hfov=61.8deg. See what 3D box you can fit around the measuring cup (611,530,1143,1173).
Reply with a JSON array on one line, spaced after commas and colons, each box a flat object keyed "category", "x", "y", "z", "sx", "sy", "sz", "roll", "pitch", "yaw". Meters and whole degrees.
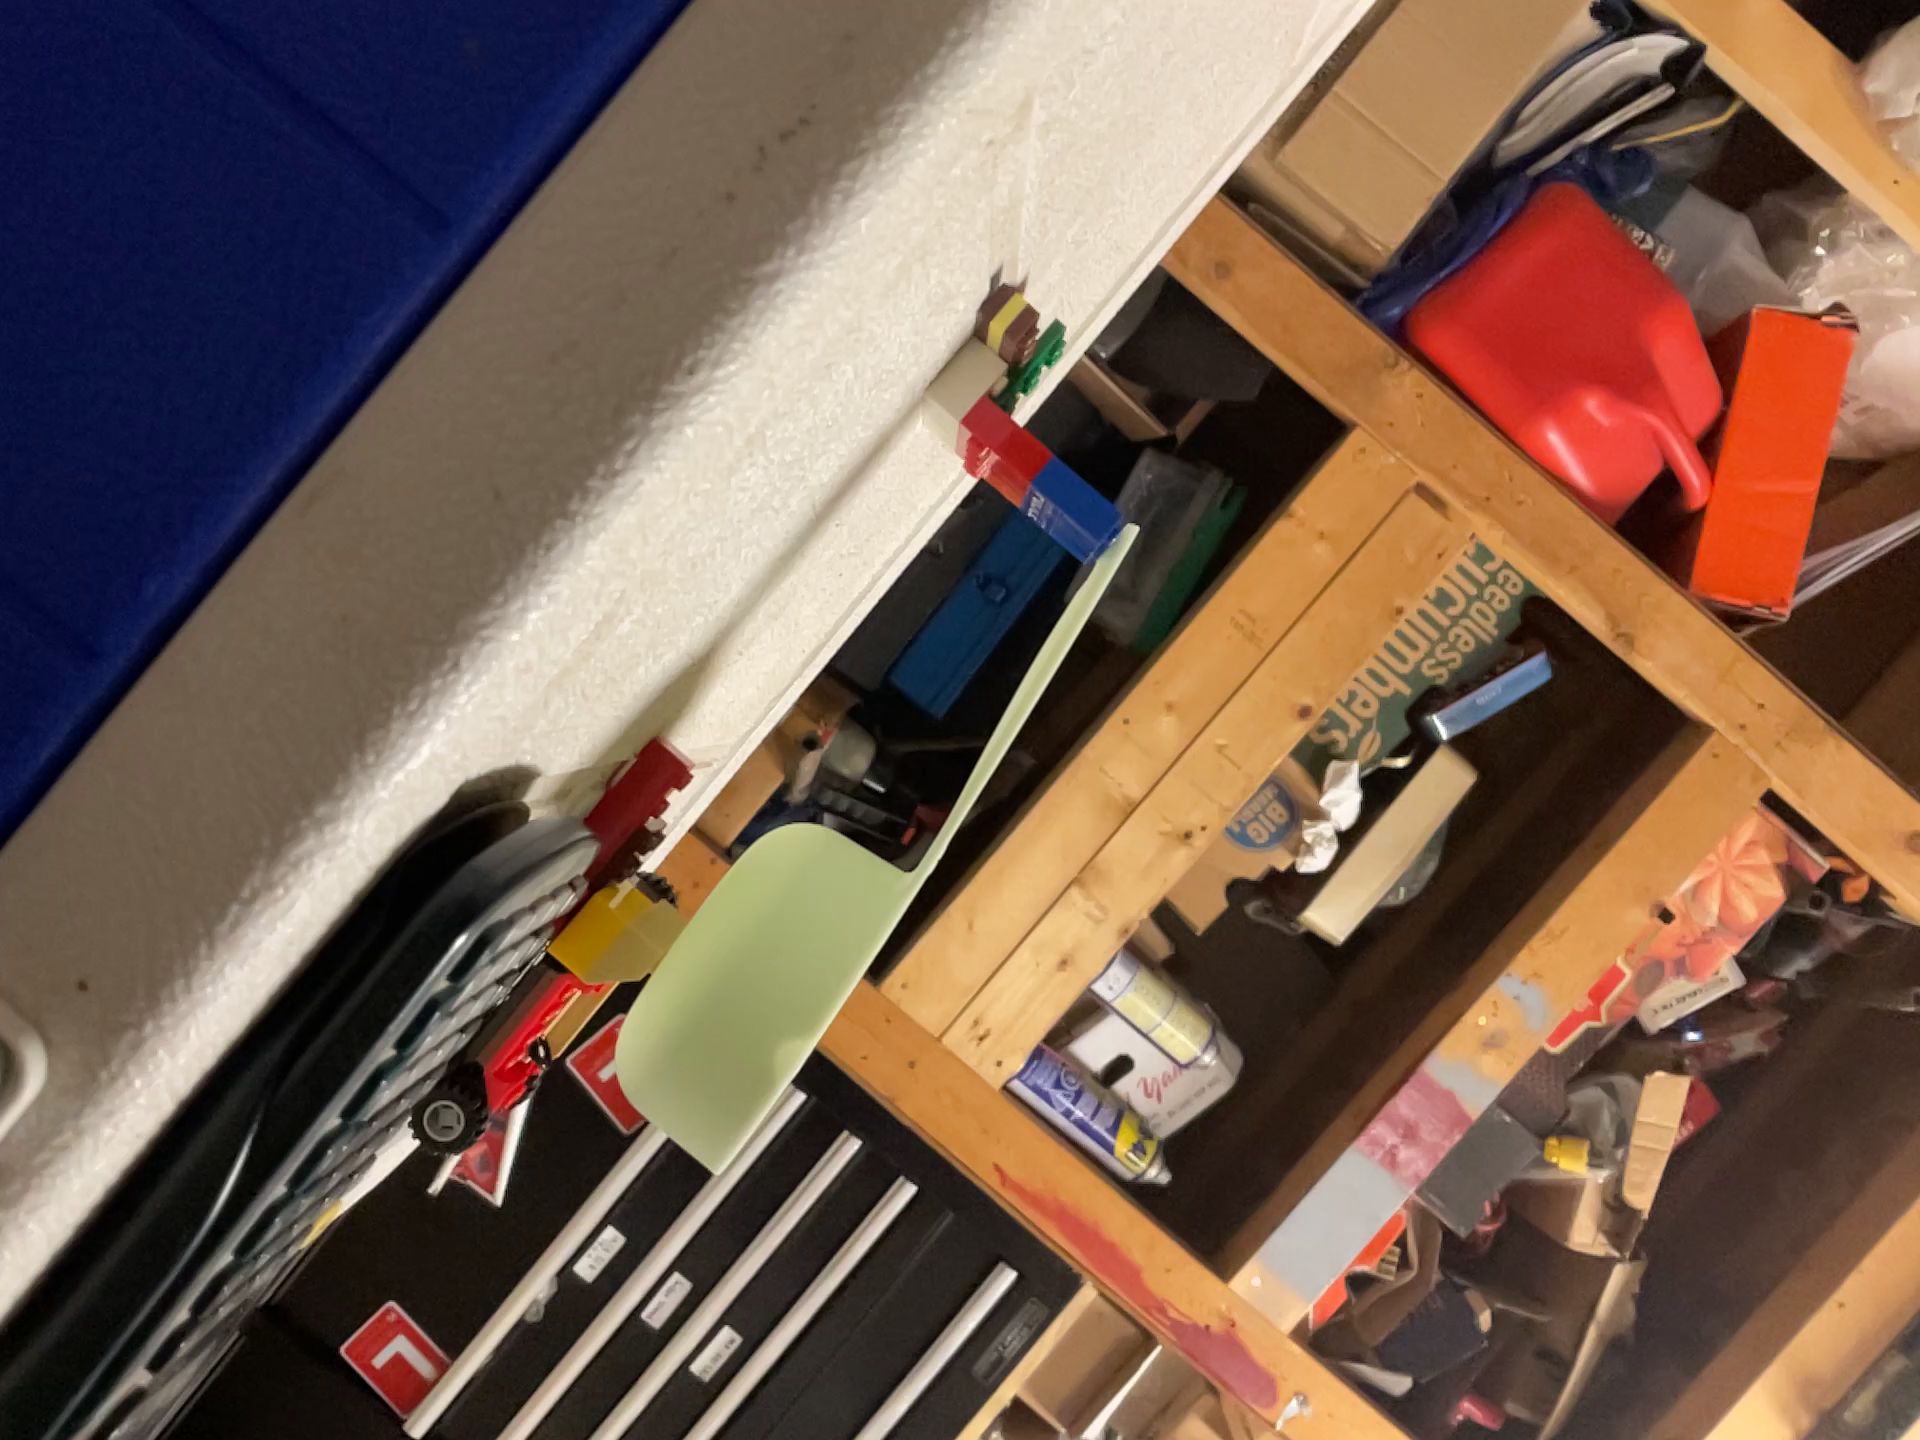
[{"category": "measuring cup", "x": -0.020, "y": 0.020, "z": 0.352, "sx": 0.167, "sy": 0.038, "sz": 0.083, "roll": -56, "pitch": 179, "yaw": 3}]
